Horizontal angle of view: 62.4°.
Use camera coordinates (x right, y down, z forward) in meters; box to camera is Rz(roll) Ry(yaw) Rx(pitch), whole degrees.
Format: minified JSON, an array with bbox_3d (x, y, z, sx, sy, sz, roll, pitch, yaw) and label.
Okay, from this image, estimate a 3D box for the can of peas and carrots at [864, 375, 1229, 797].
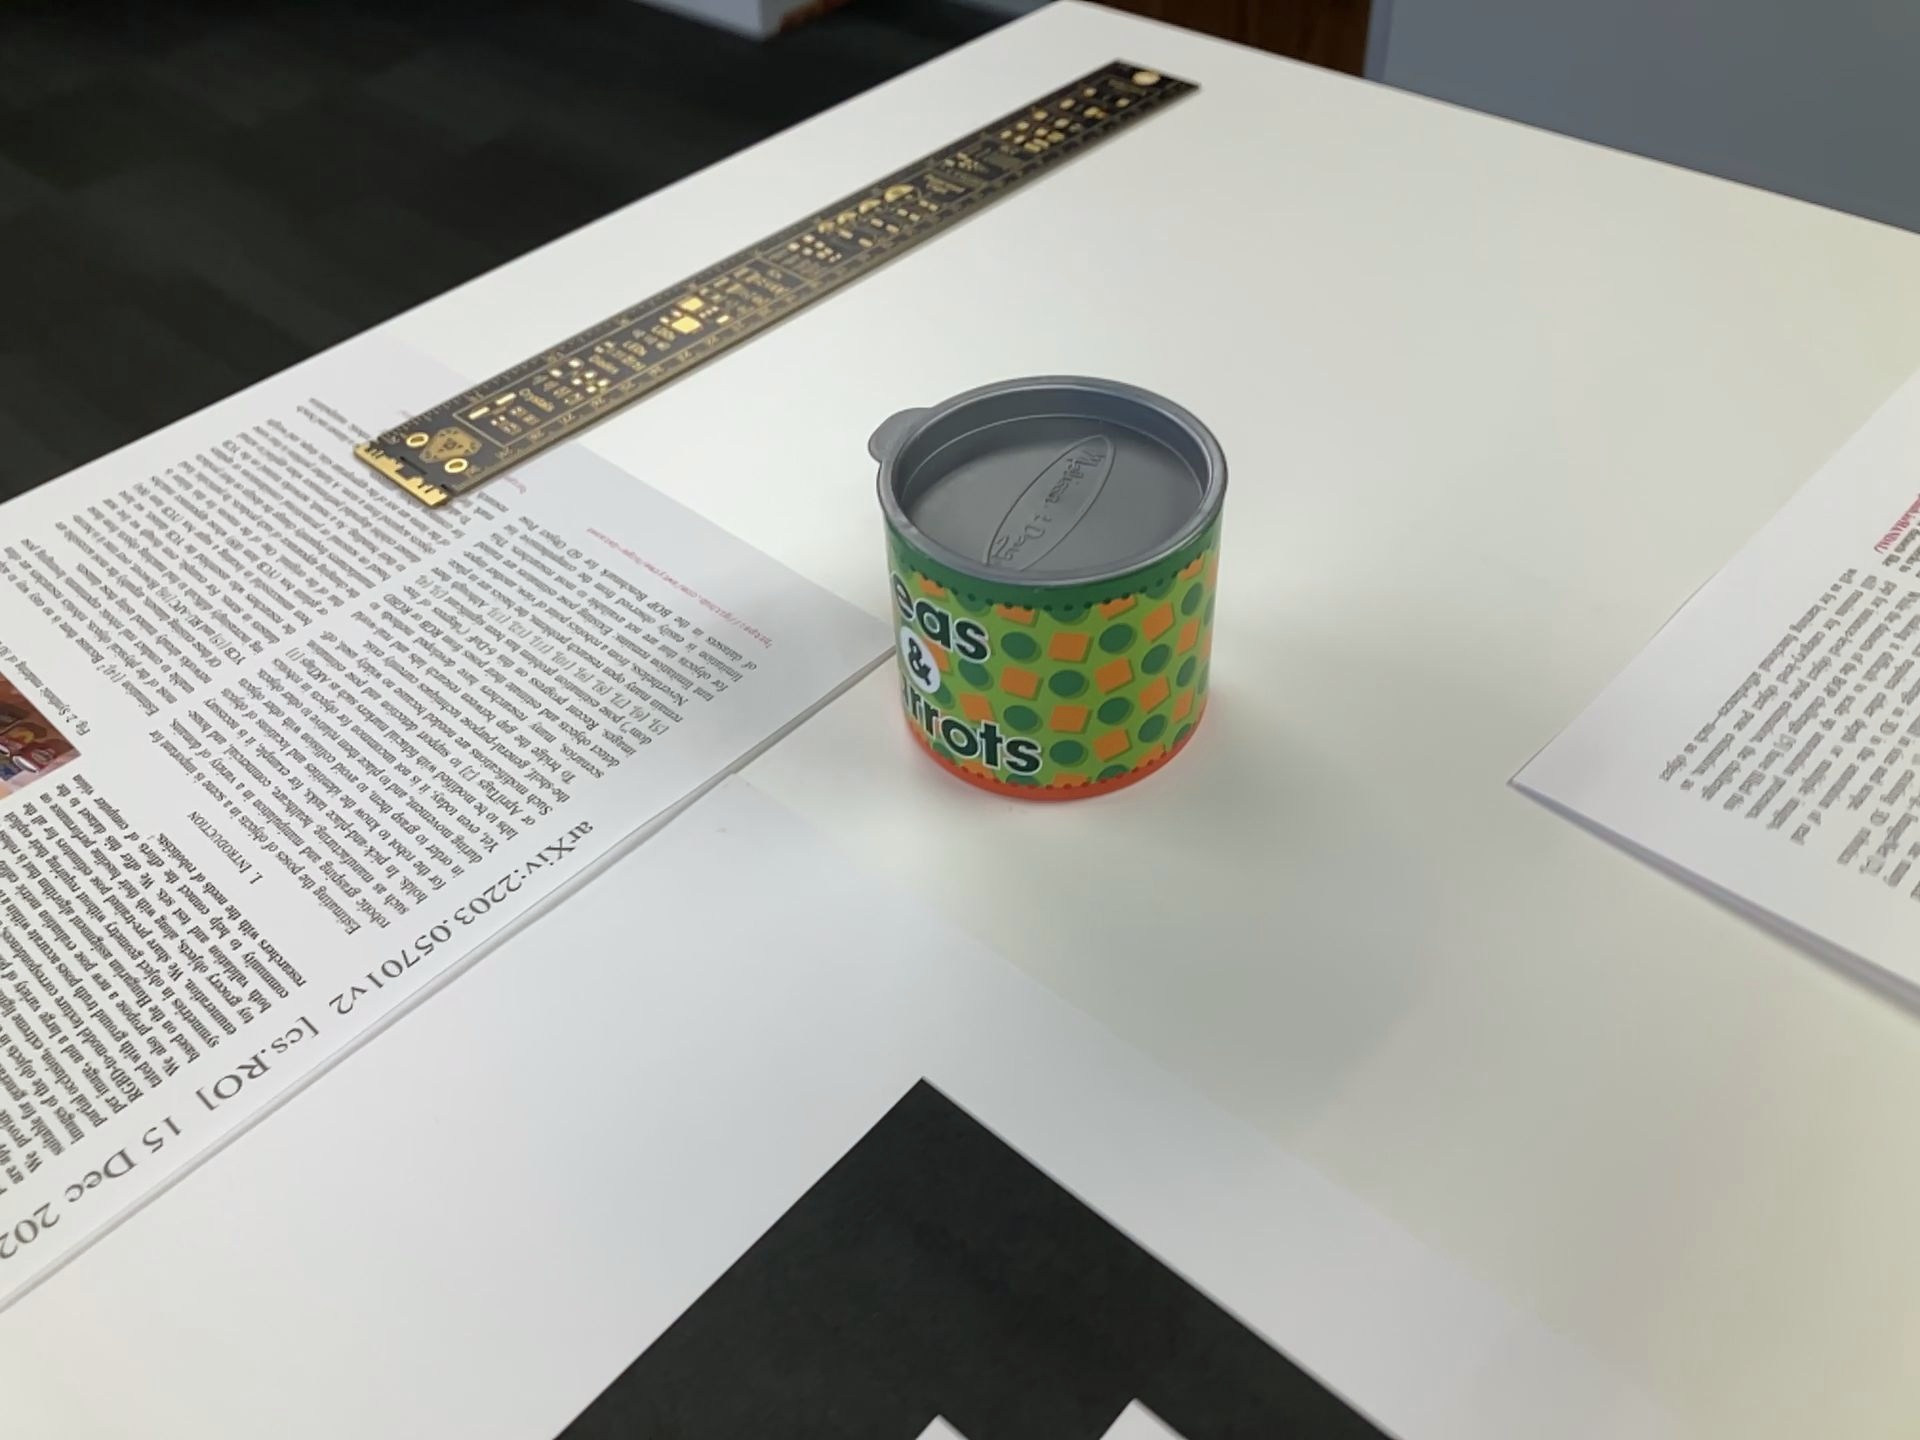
[{"bbox_3d":[0.017,-0.026,0.319,0.071,0.059,0.071,-2,44,2],"label":"can of peas and carrots"}]
